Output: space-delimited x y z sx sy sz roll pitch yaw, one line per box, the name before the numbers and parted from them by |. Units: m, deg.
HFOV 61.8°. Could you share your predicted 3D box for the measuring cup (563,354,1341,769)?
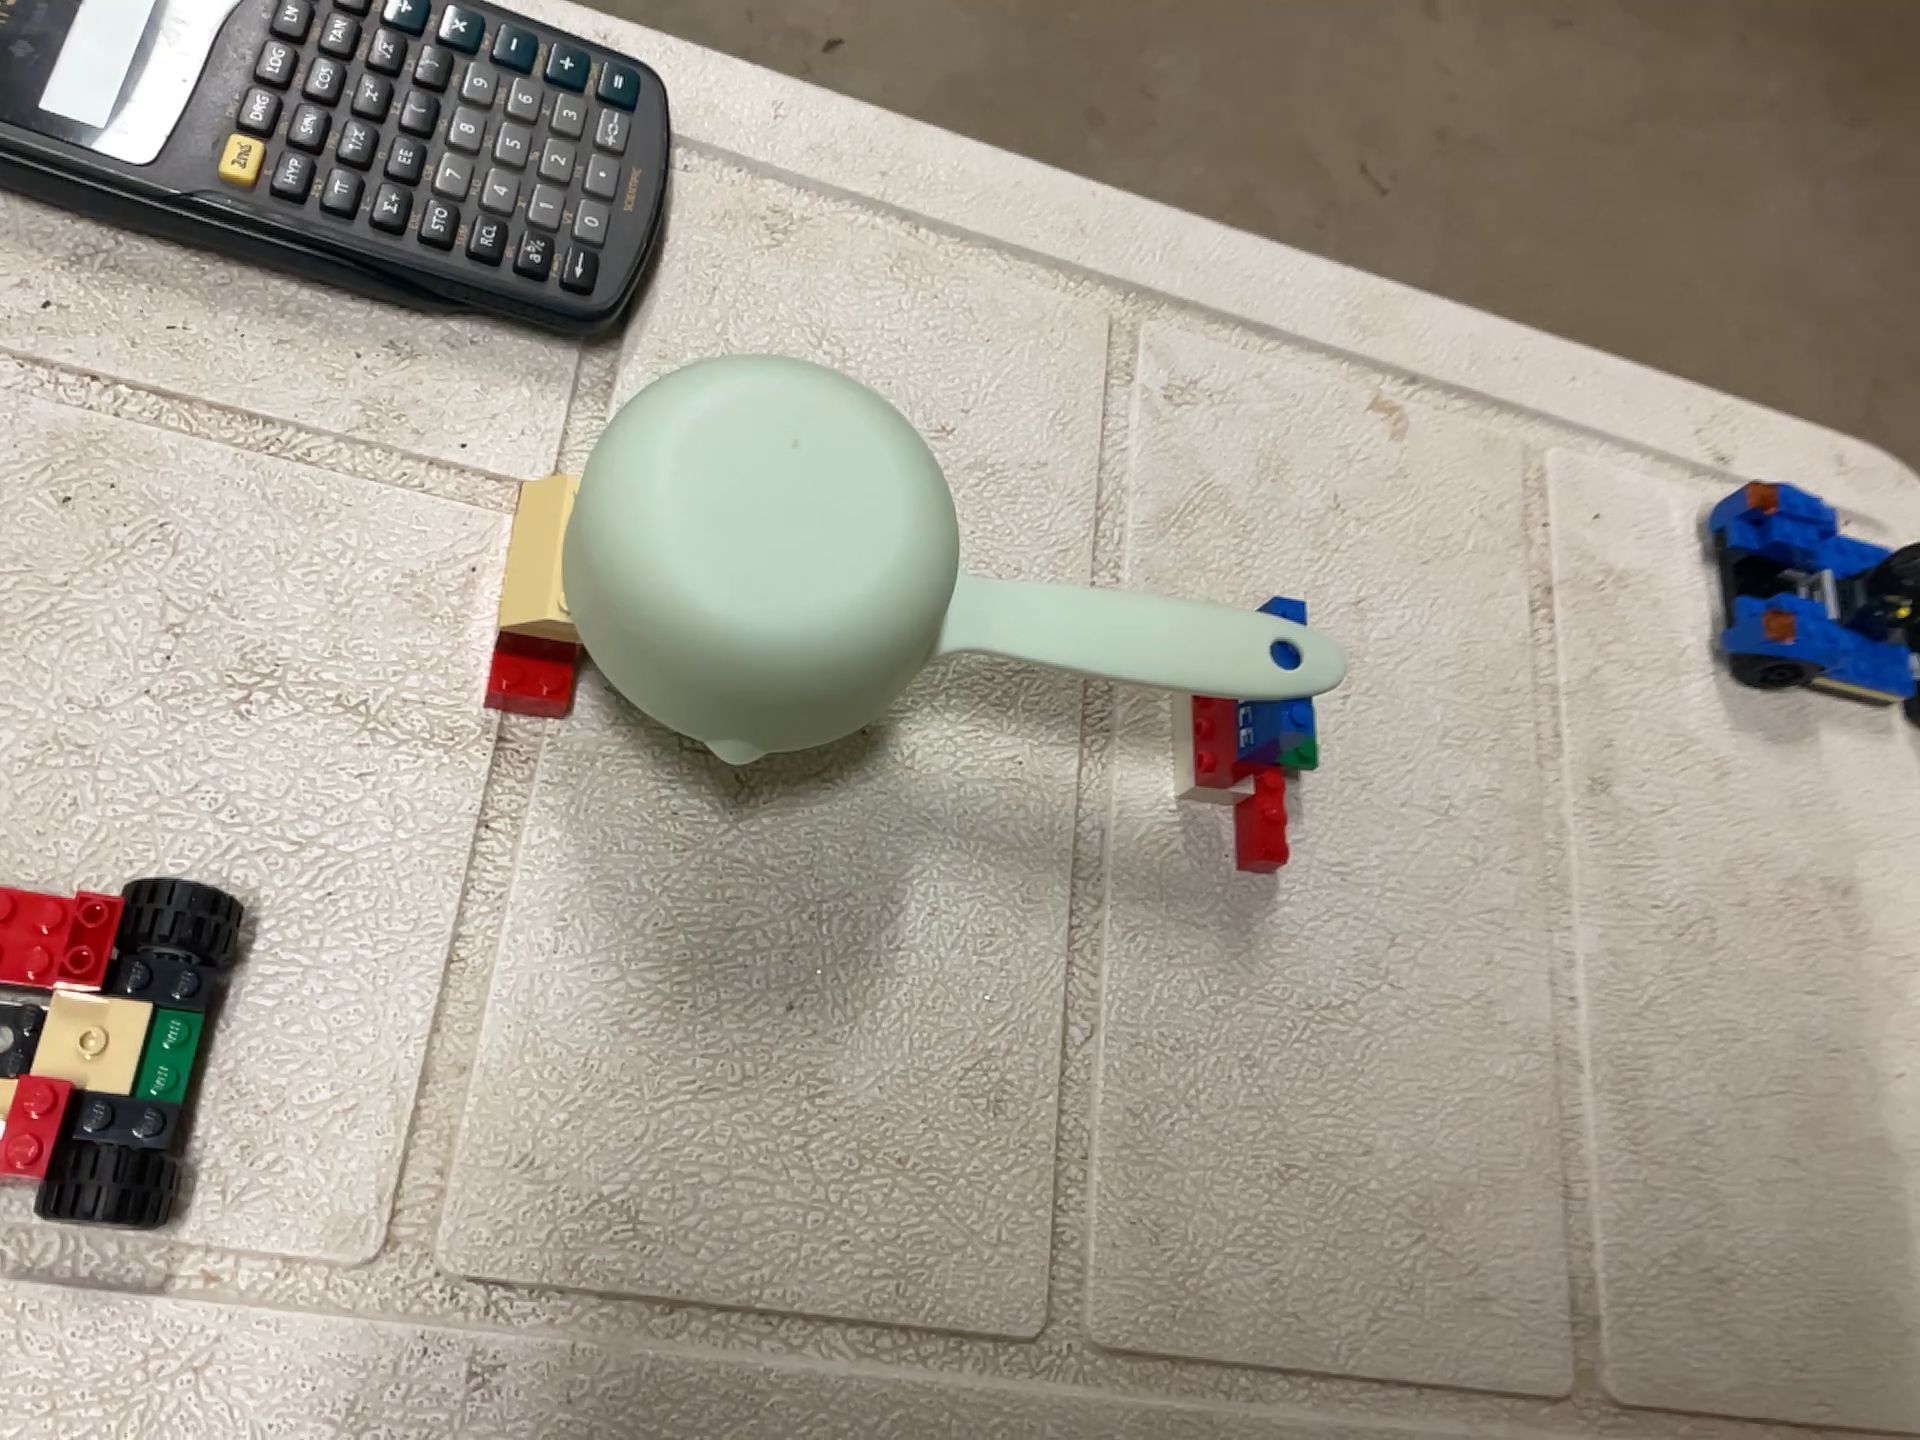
measuring cup | 0.006 -0.029 0.322 0.167 0.038 0.083 8 67 -12
